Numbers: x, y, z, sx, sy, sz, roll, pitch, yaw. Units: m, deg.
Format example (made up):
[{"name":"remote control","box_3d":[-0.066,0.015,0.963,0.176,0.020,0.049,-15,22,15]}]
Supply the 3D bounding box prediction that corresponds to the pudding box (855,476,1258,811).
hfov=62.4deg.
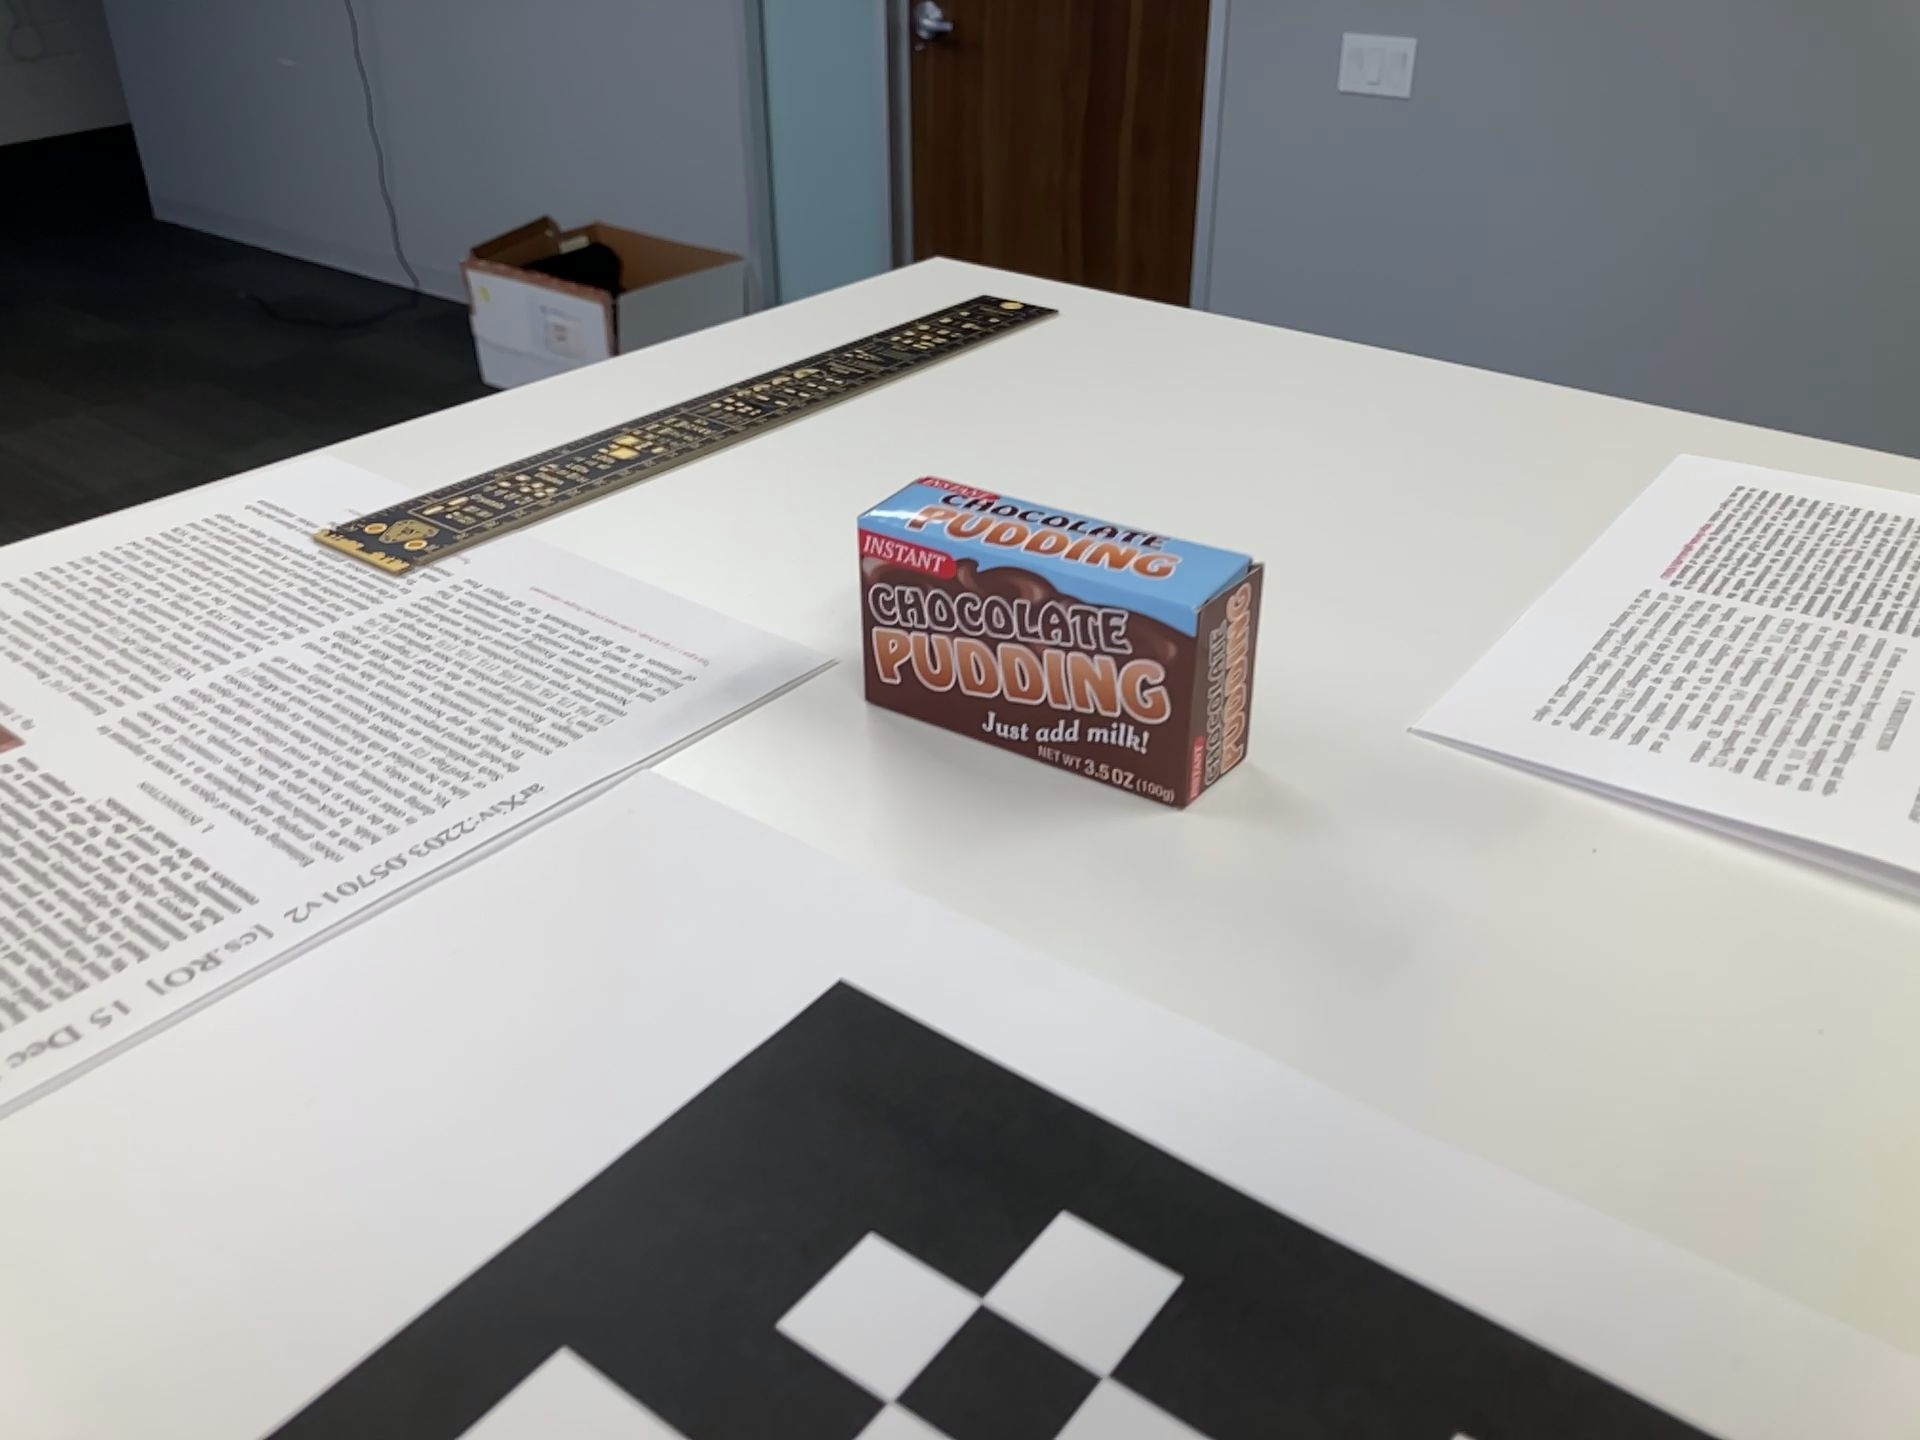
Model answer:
[{"name":"pudding box","box_3d":[0.019,-0.019,0.344,0.083,0.049,0.030,19,37,28]}]
